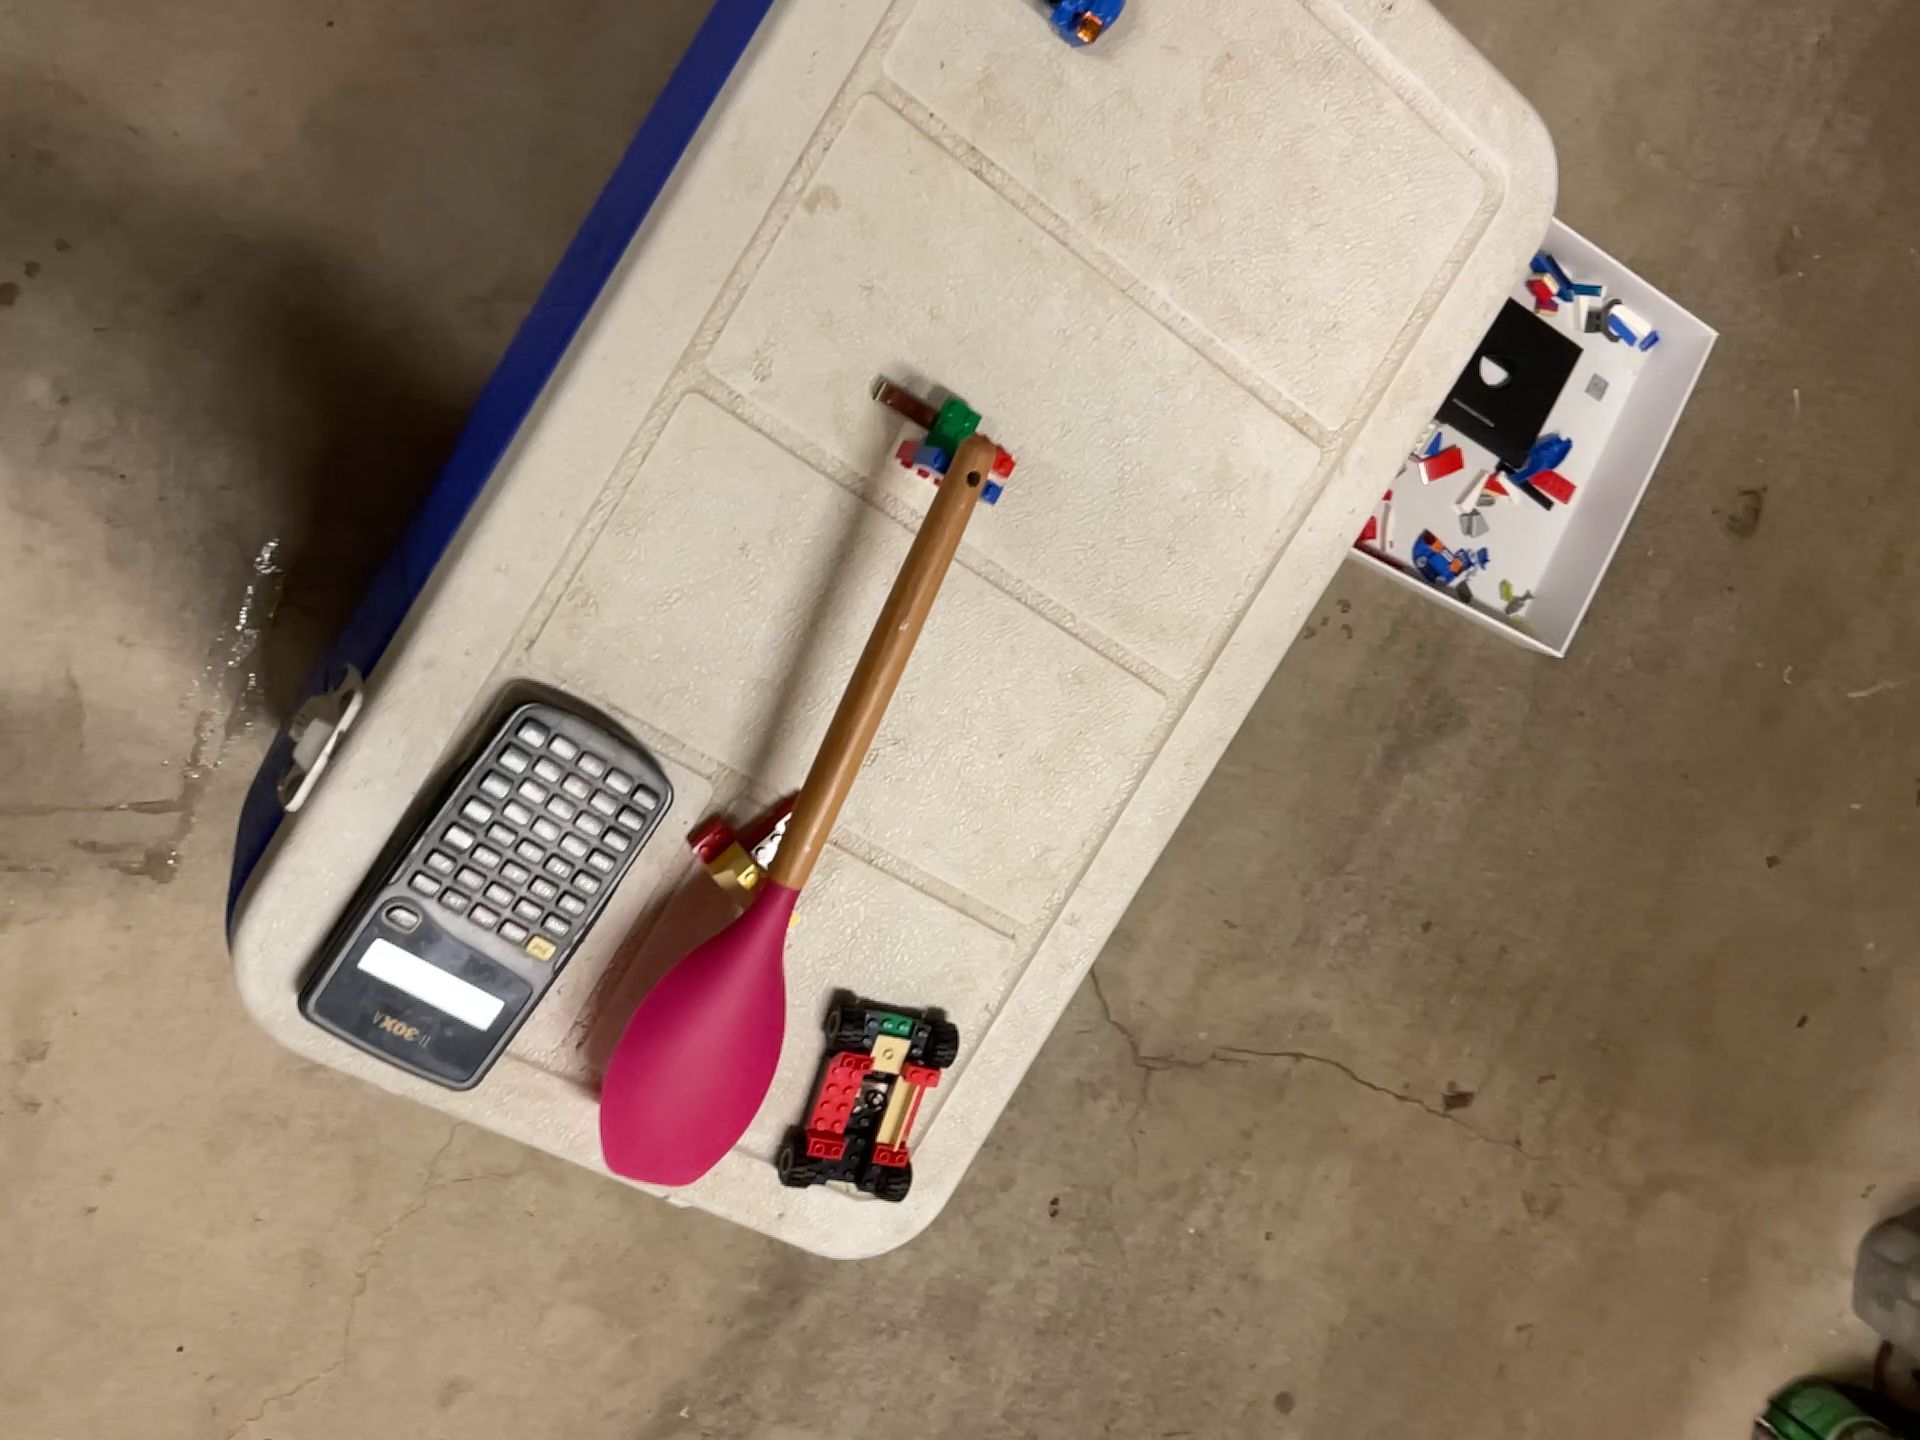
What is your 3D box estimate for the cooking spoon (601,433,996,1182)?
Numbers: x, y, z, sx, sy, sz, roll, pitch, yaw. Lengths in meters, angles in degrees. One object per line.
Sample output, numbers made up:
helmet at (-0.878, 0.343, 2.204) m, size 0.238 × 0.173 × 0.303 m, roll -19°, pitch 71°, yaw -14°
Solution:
cooking spoon at (-0.058, 0.038, 0.615) m, size 0.069 × 0.017 × 0.319 m, roll 21°, pitch 97°, yaw -29°
